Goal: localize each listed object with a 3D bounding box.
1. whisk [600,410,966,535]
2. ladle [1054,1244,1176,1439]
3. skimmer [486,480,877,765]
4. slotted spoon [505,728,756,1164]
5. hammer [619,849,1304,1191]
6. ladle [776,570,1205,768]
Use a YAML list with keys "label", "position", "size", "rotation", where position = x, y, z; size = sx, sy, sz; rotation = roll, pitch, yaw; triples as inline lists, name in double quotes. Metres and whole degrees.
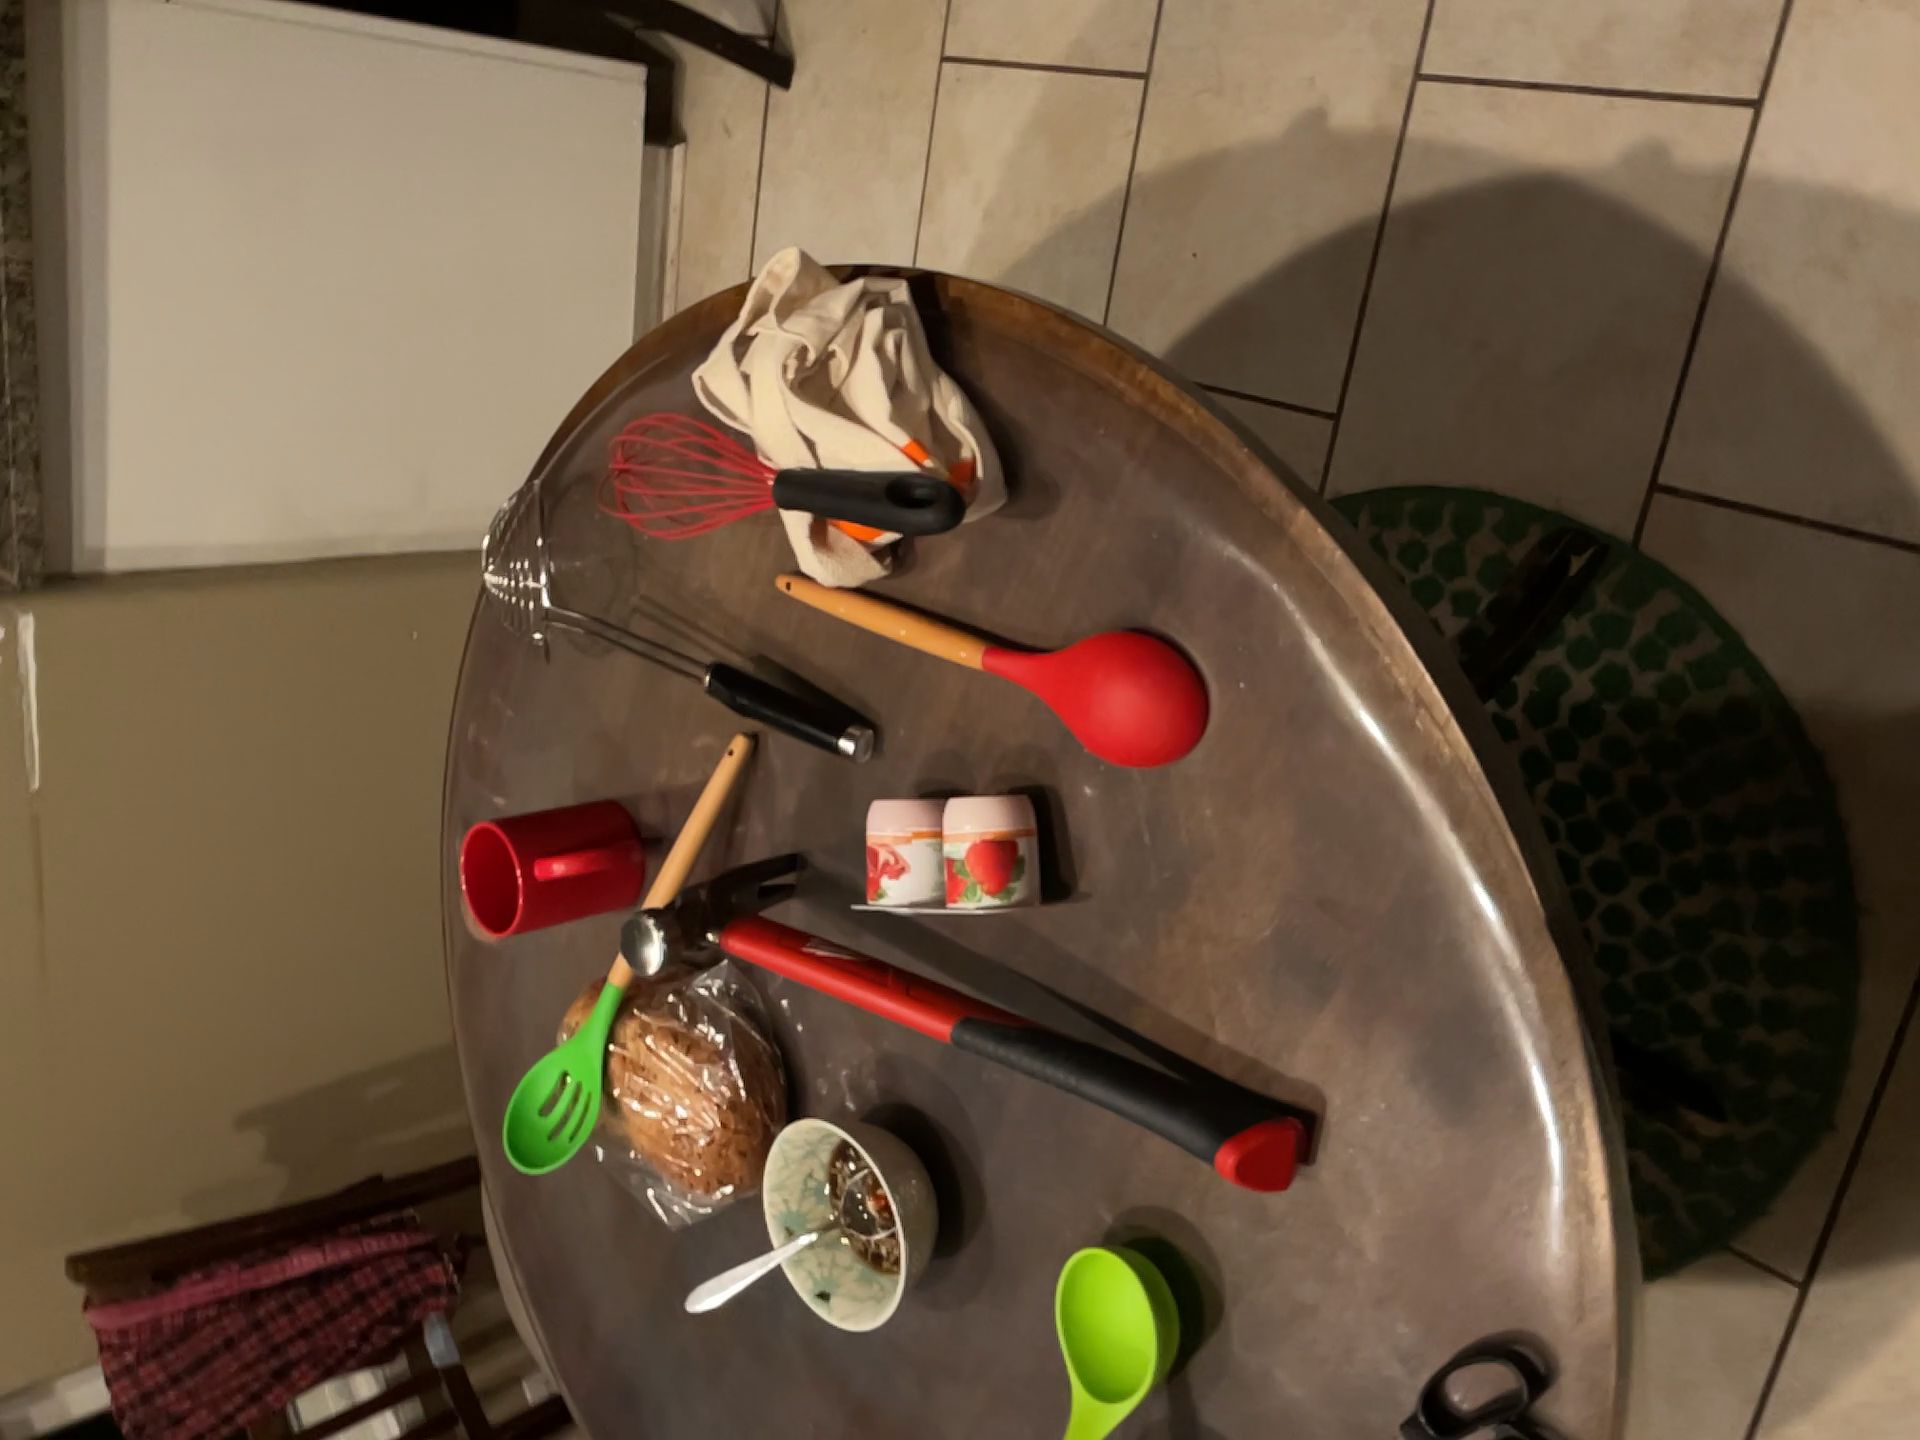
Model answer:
- label: "whisk"
  position: [-0.108, -0.131, 0.879]
  size: [0.296, 0.073, 0.073]
  rotation: [14, 105, 42]
- label: "ladle"
  position: [0.016, 0.408, 0.770]
  size: [0.062, 0.320, 0.078]
  rotation: [44, 156, -25]
- label: "skimmer"
  position: [-0.184, -0.056, 1.035]
  size: [0.364, 0.090, 0.127]
  rotation: [23, 121, 28]
- label: "slotted spoon"
  position: [-0.207, 0.146, 1.023]
  size: [0.070, 0.031, 0.314]
  rotation: [31, 95, 32]
- label: "hammer"
  position: [0.005, 0.155, 0.856]
  size: [0.387, 0.143, 0.038]
  rotation: [17, 110, 29]
- label: "ladle"
  position: [-0.001, -0.043, 0.860]
  size: [0.316, 0.031, 0.069]
  rotation: [22, 112, 42]
